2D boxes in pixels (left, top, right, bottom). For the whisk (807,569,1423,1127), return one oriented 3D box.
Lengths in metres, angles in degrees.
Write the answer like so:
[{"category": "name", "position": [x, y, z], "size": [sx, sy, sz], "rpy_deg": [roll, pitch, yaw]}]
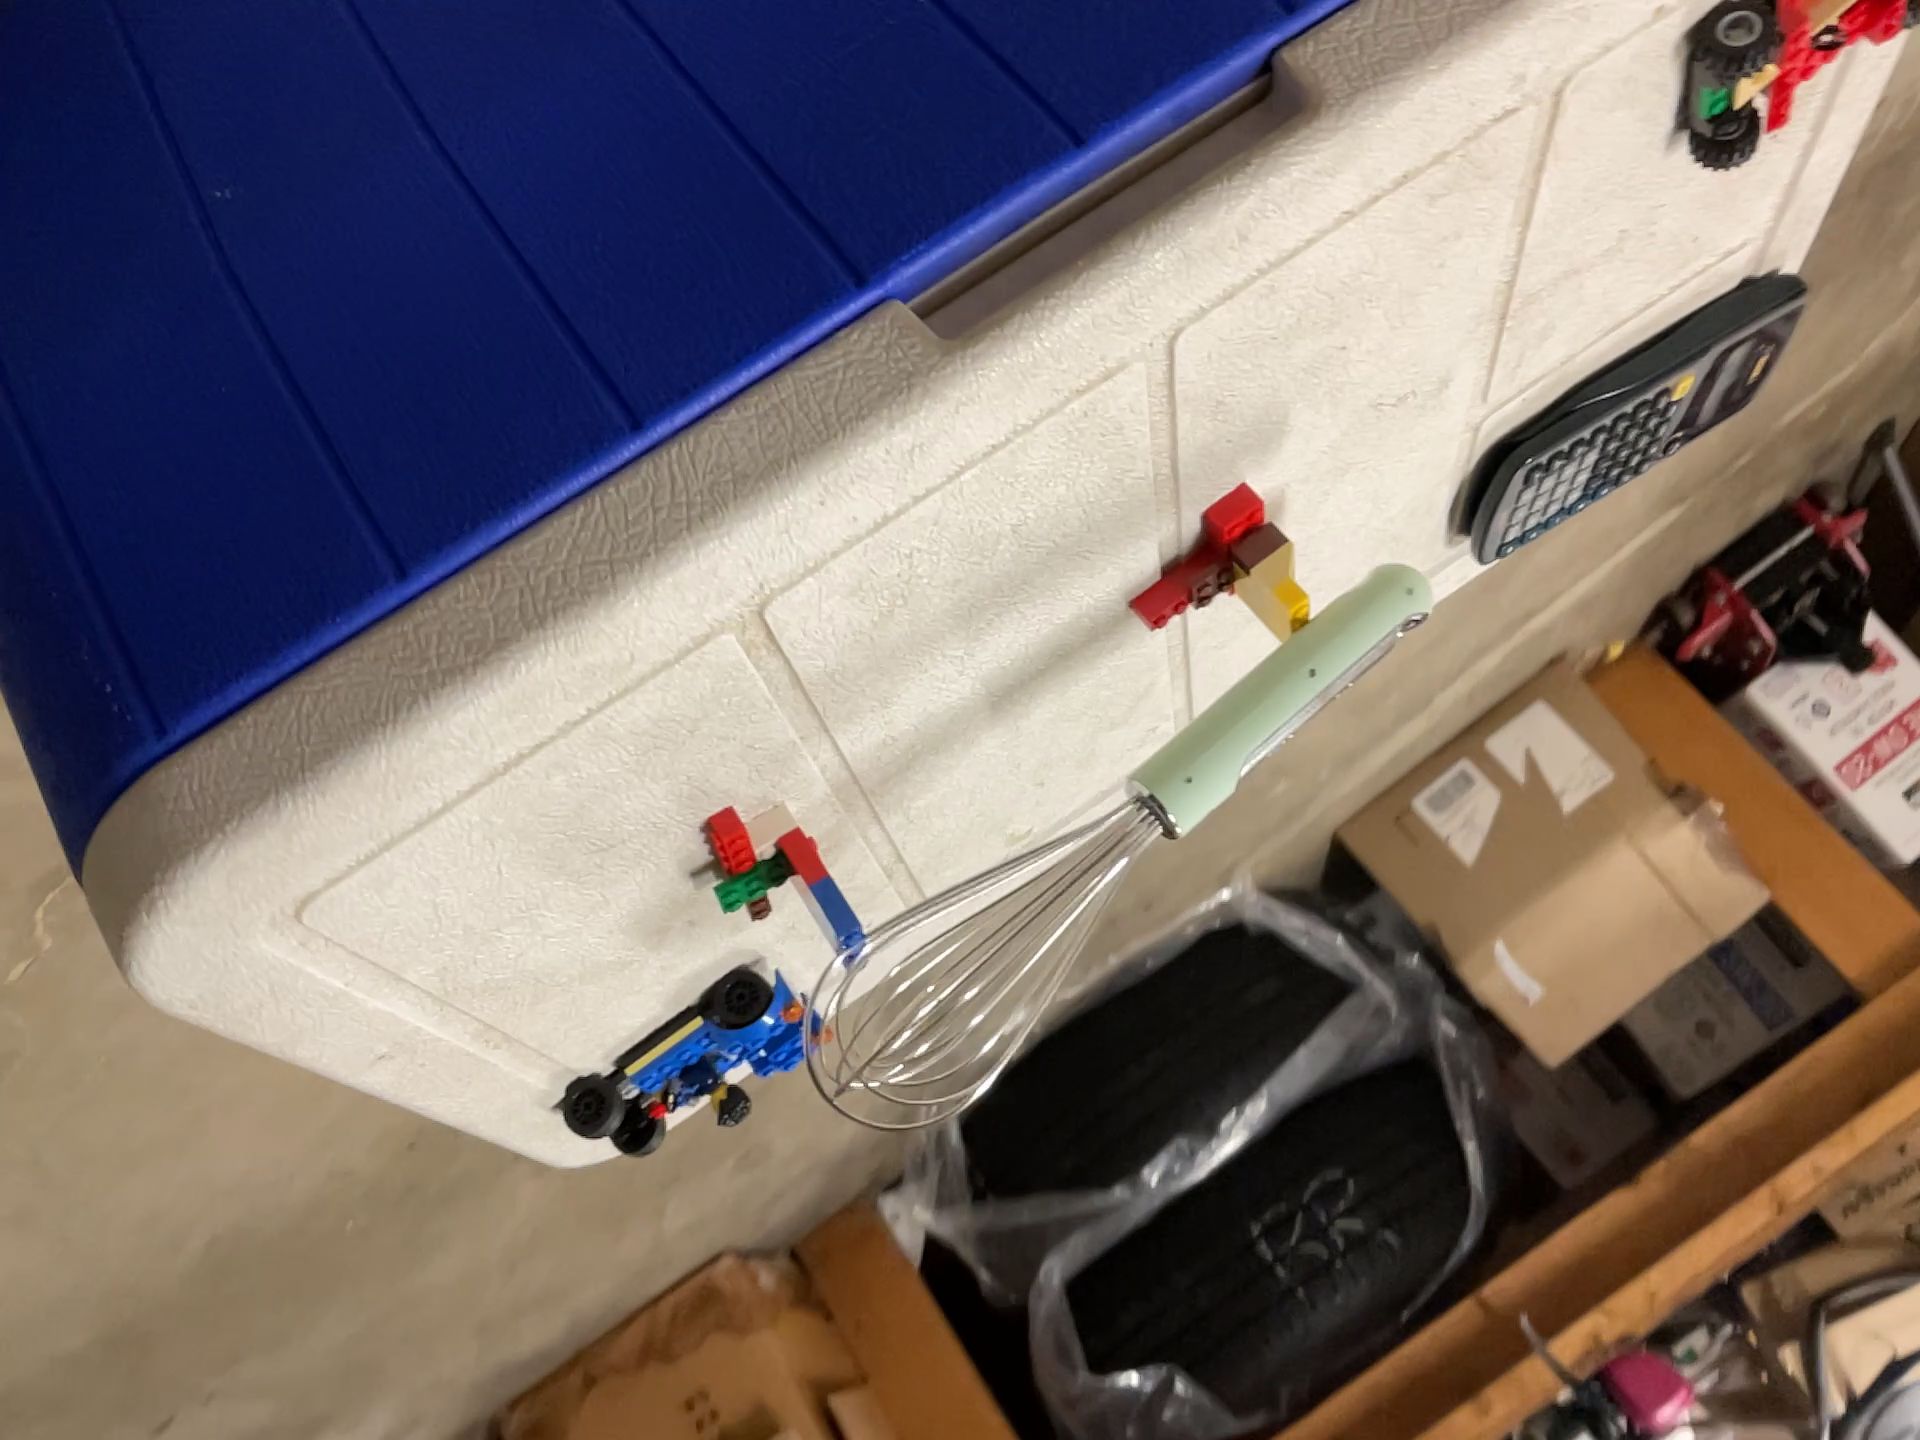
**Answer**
[{"category": "whisk", "position": [0.054, 0.033, 0.498], "size": [0.246, 0.059, 0.057], "rpy_deg": [-40, 163, -10]}]
